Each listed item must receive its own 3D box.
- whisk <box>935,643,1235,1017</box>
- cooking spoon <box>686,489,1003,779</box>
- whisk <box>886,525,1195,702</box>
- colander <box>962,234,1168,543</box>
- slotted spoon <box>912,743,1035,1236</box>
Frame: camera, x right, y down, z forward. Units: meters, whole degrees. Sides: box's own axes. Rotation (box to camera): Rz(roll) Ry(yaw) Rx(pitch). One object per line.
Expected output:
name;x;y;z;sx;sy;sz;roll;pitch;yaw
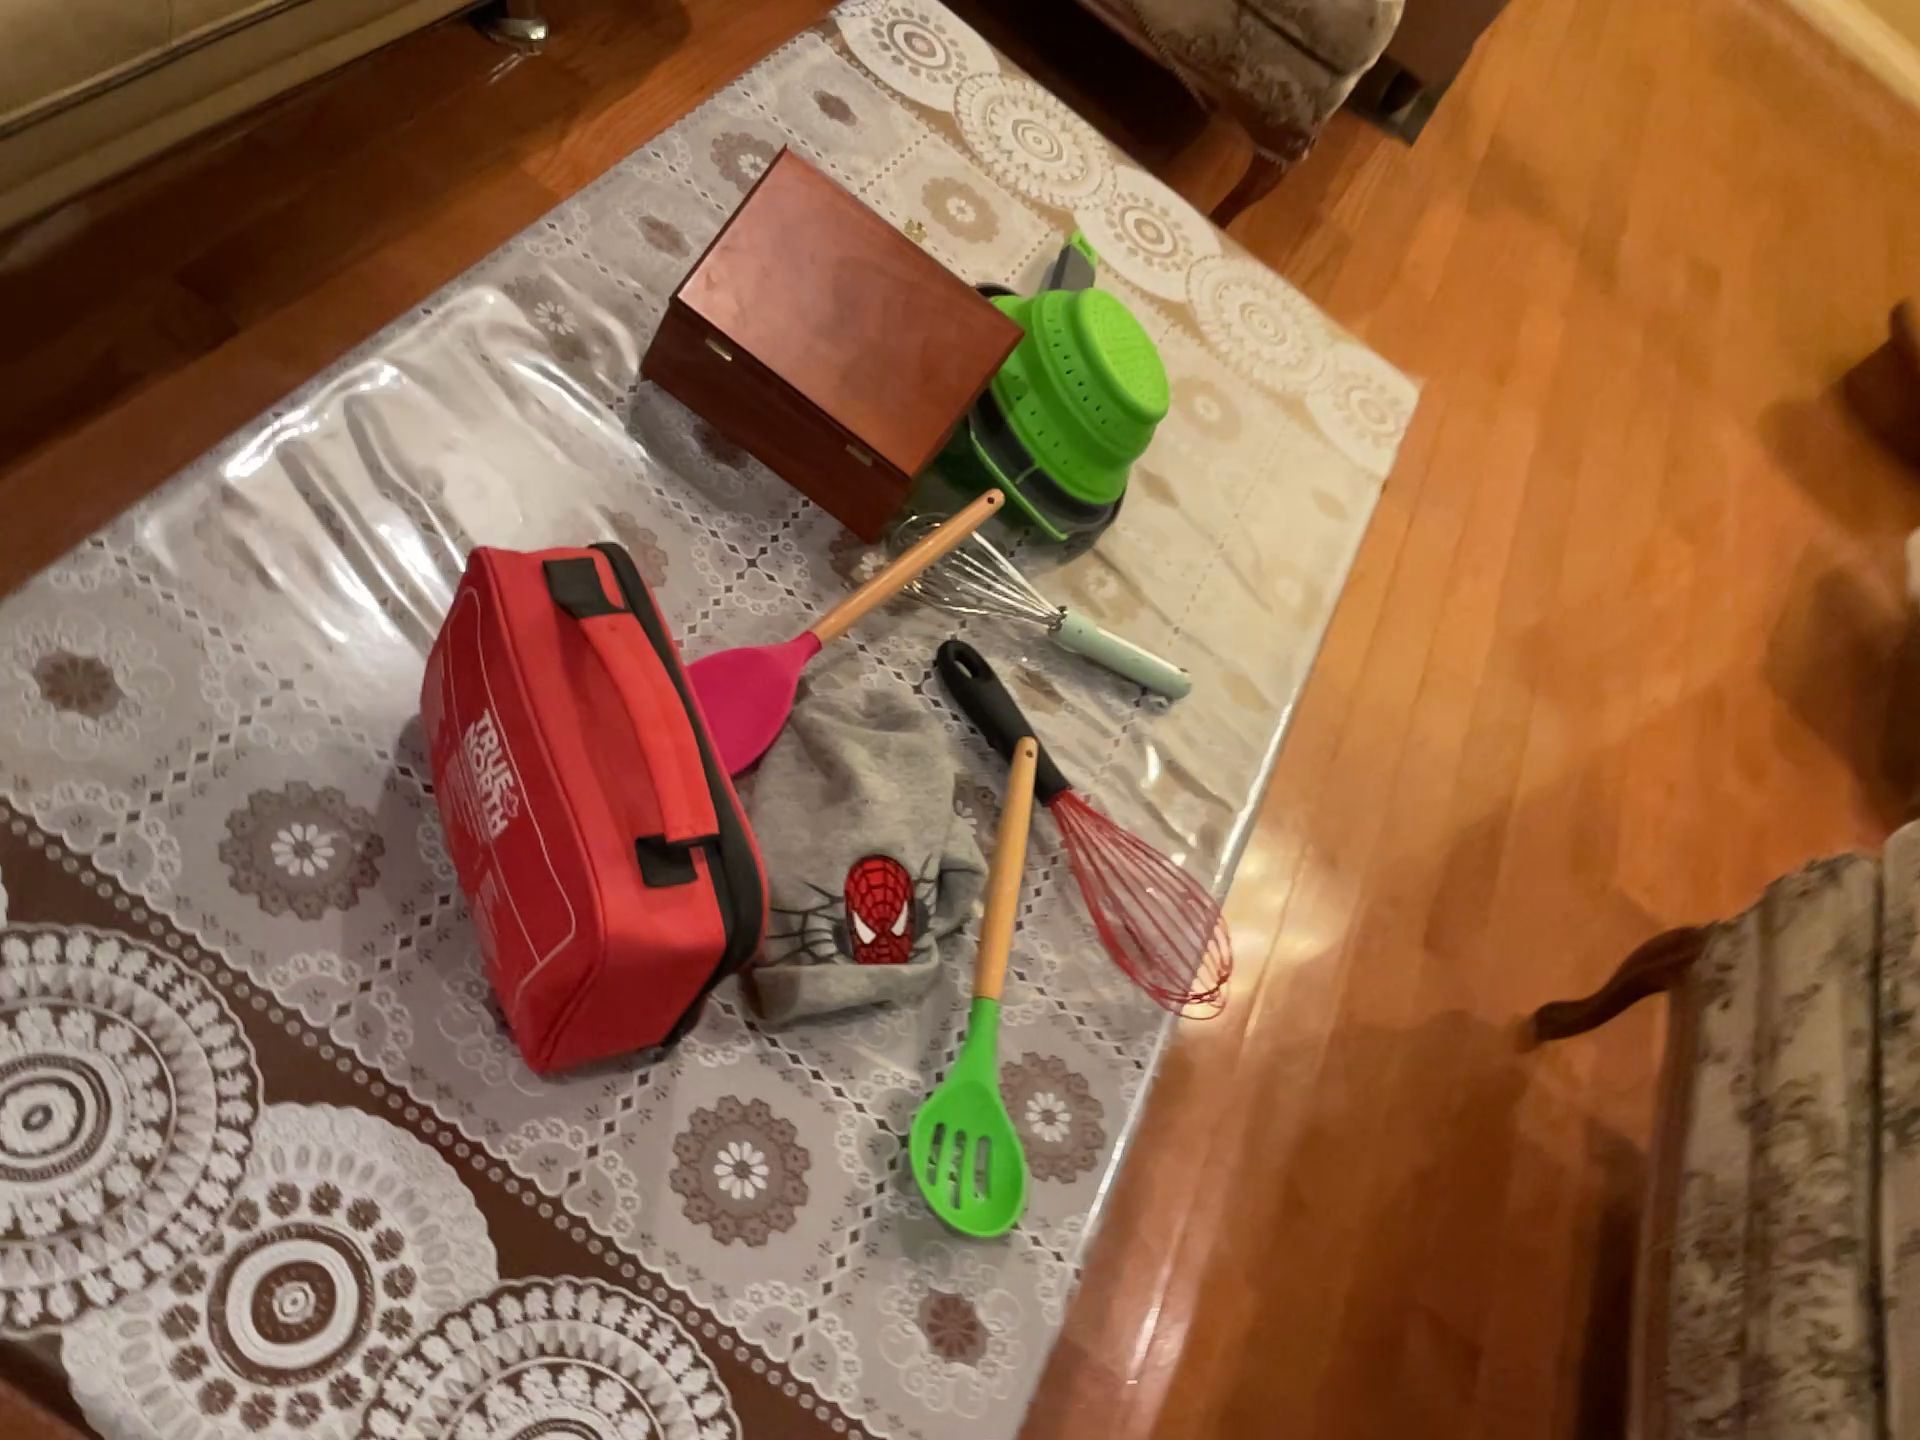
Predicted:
whisk;0.073;0.063;0.997;0.073;0.073;0.296;-23;66;-35
cooking spoon;-0.074;-0.061;0.977;0.069;0.017;0.319;46;57;2
whisk;0.059;-0.067;1.095;0.246;0.059;0.058;24;90;-19
colander;0.099;-0.297;1.218;0.204;0.094;0.397;45;35;-25
slotted spoon;0.020;0.141;0.907;0.070;0.031;0.314;23;51;-17
